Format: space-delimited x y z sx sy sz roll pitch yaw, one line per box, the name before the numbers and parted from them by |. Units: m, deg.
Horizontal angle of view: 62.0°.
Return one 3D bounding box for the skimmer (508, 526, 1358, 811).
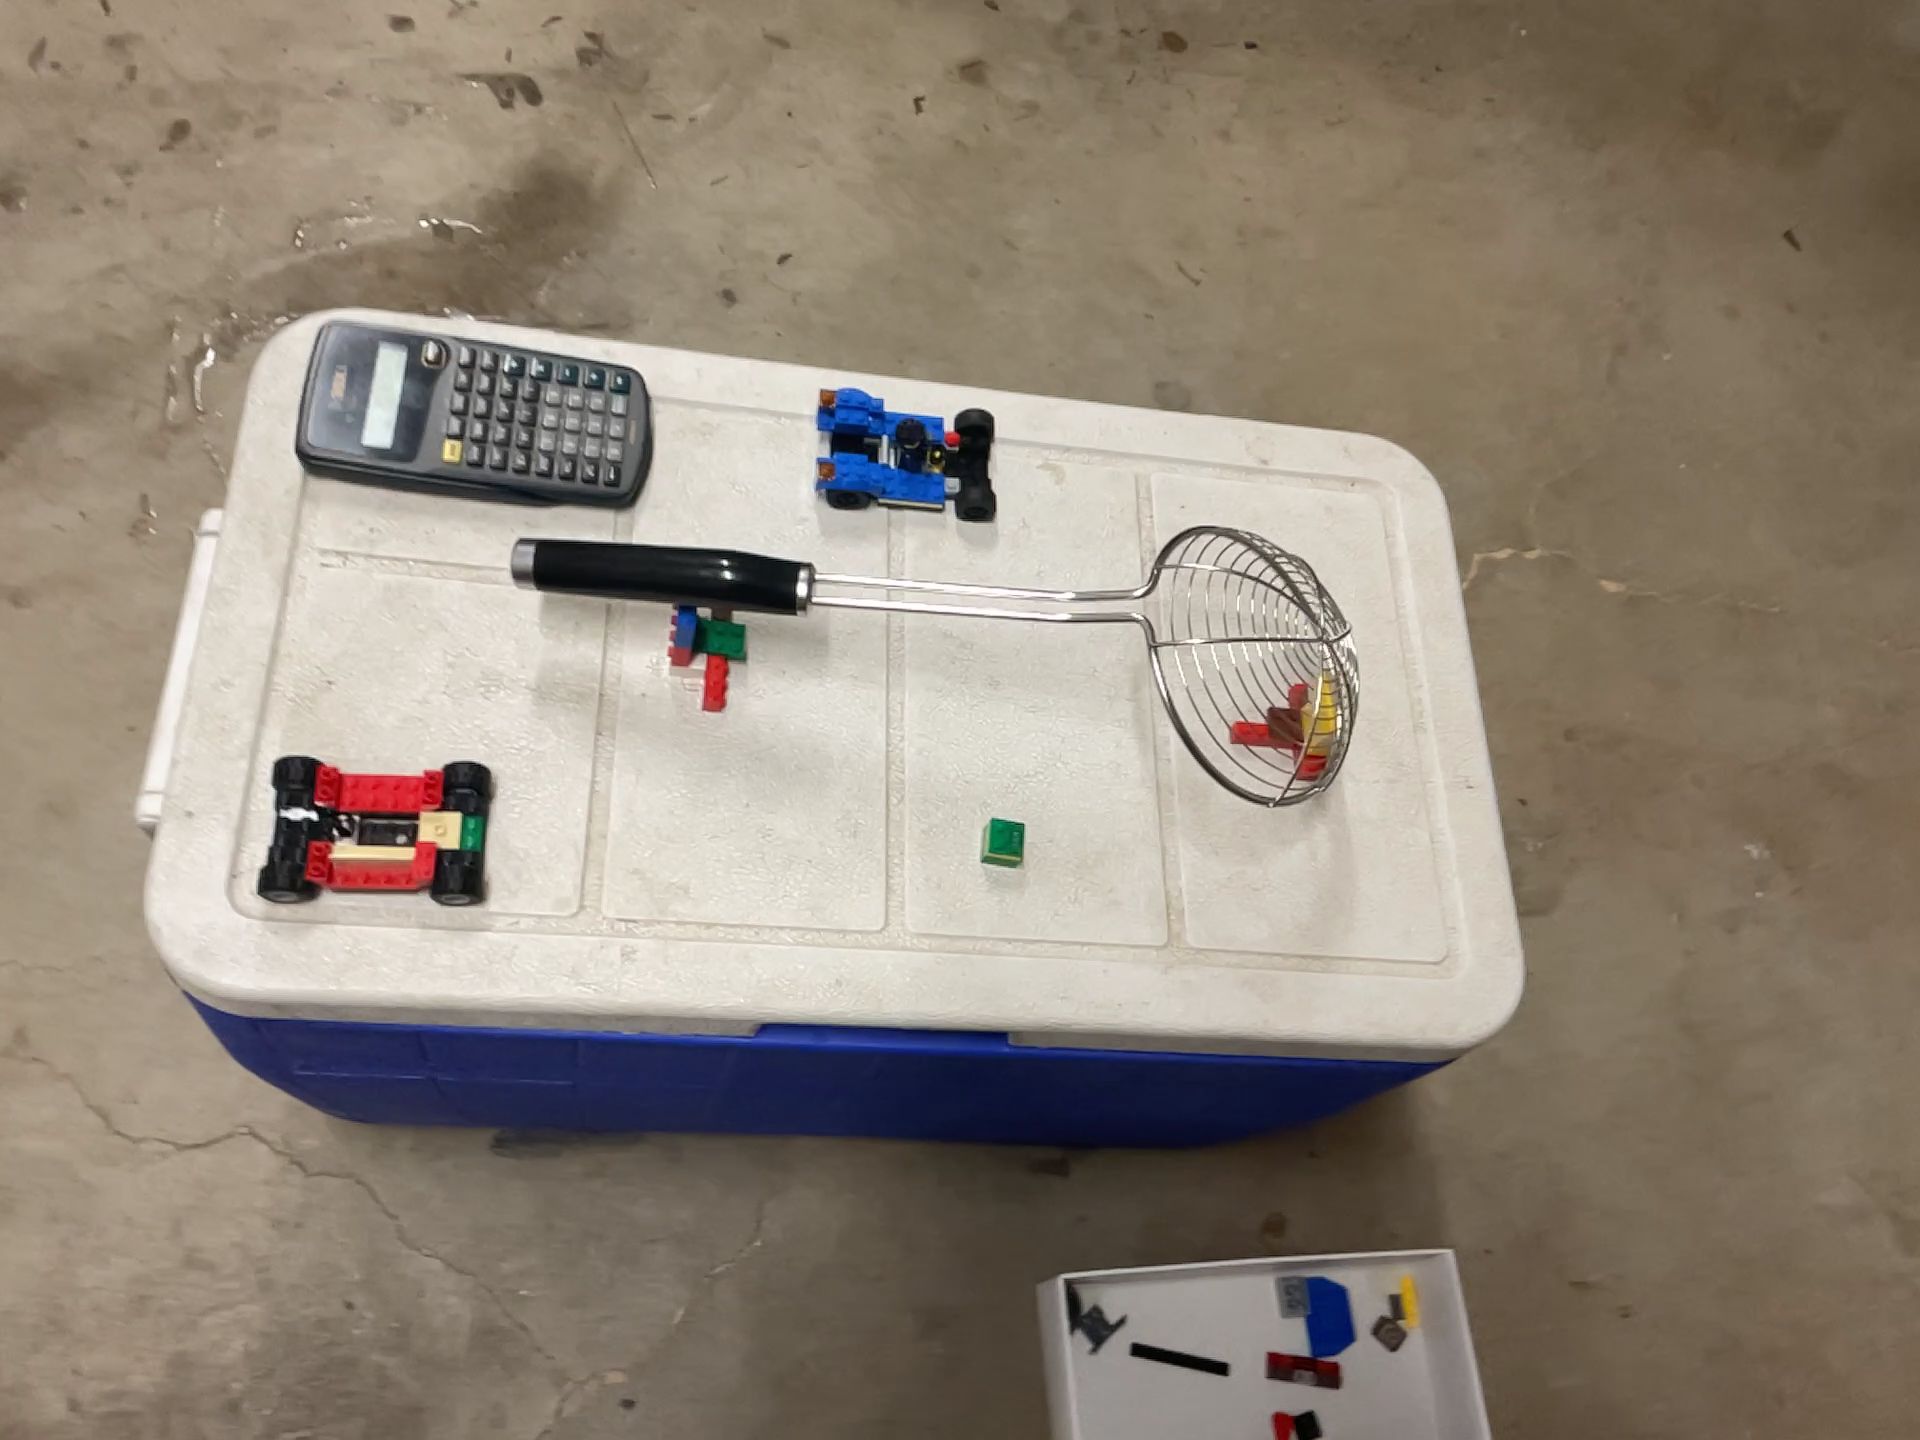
skimmer | -0.005 -0.036 0.689 0.363 0.090 0.127 5 64 1
